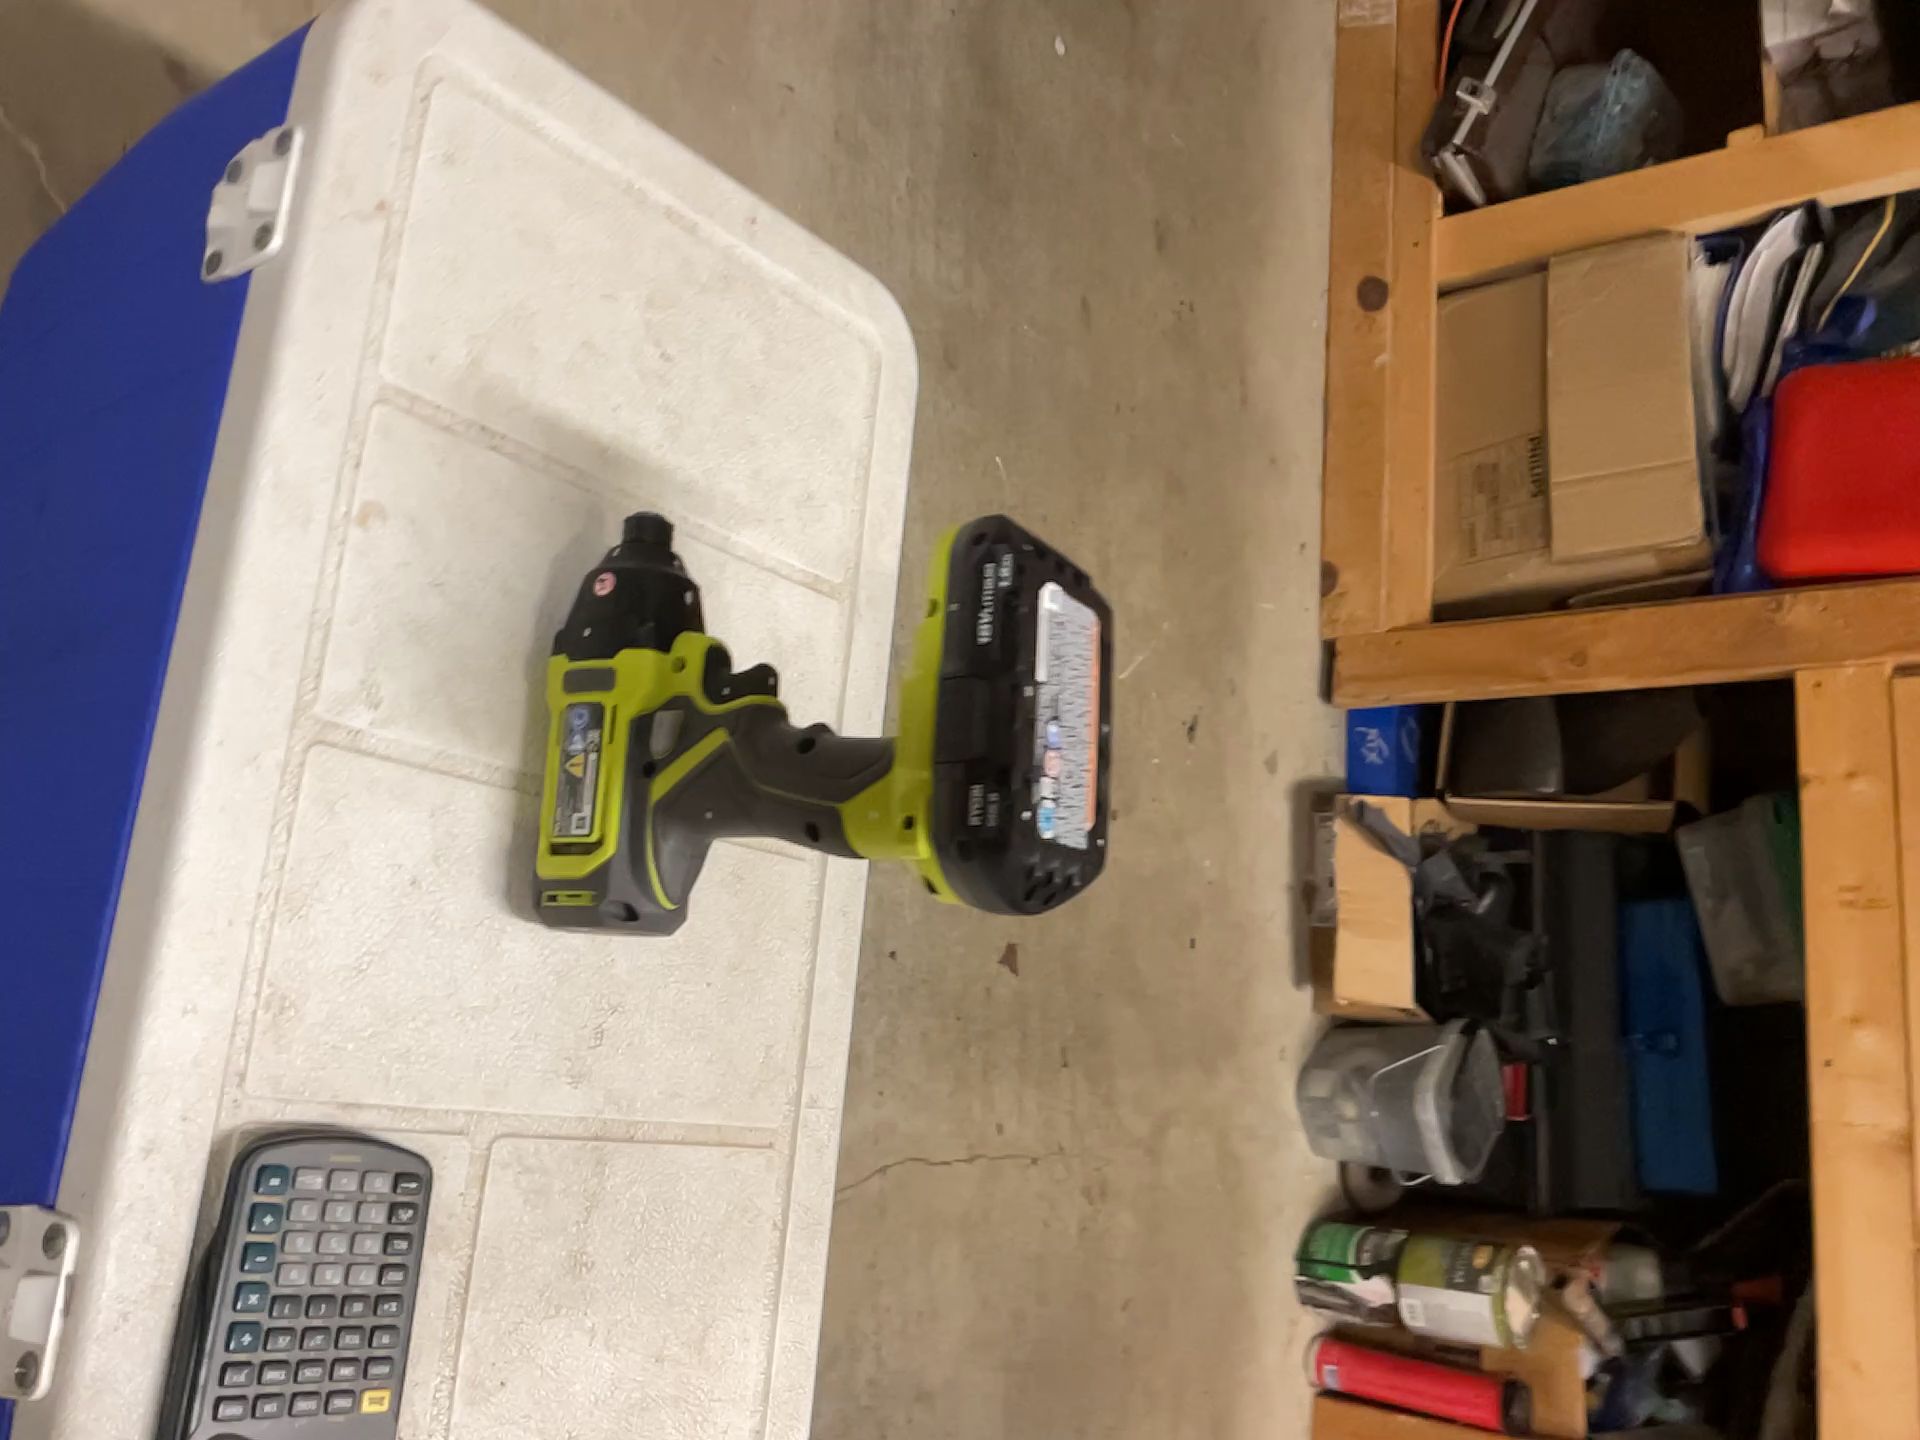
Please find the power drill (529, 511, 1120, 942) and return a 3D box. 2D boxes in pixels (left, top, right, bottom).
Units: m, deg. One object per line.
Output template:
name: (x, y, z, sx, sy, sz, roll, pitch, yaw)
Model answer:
power drill: (-0.059, -0.004, 0.595, 0.080, 0.223, 0.171, 24, 67, -59)
